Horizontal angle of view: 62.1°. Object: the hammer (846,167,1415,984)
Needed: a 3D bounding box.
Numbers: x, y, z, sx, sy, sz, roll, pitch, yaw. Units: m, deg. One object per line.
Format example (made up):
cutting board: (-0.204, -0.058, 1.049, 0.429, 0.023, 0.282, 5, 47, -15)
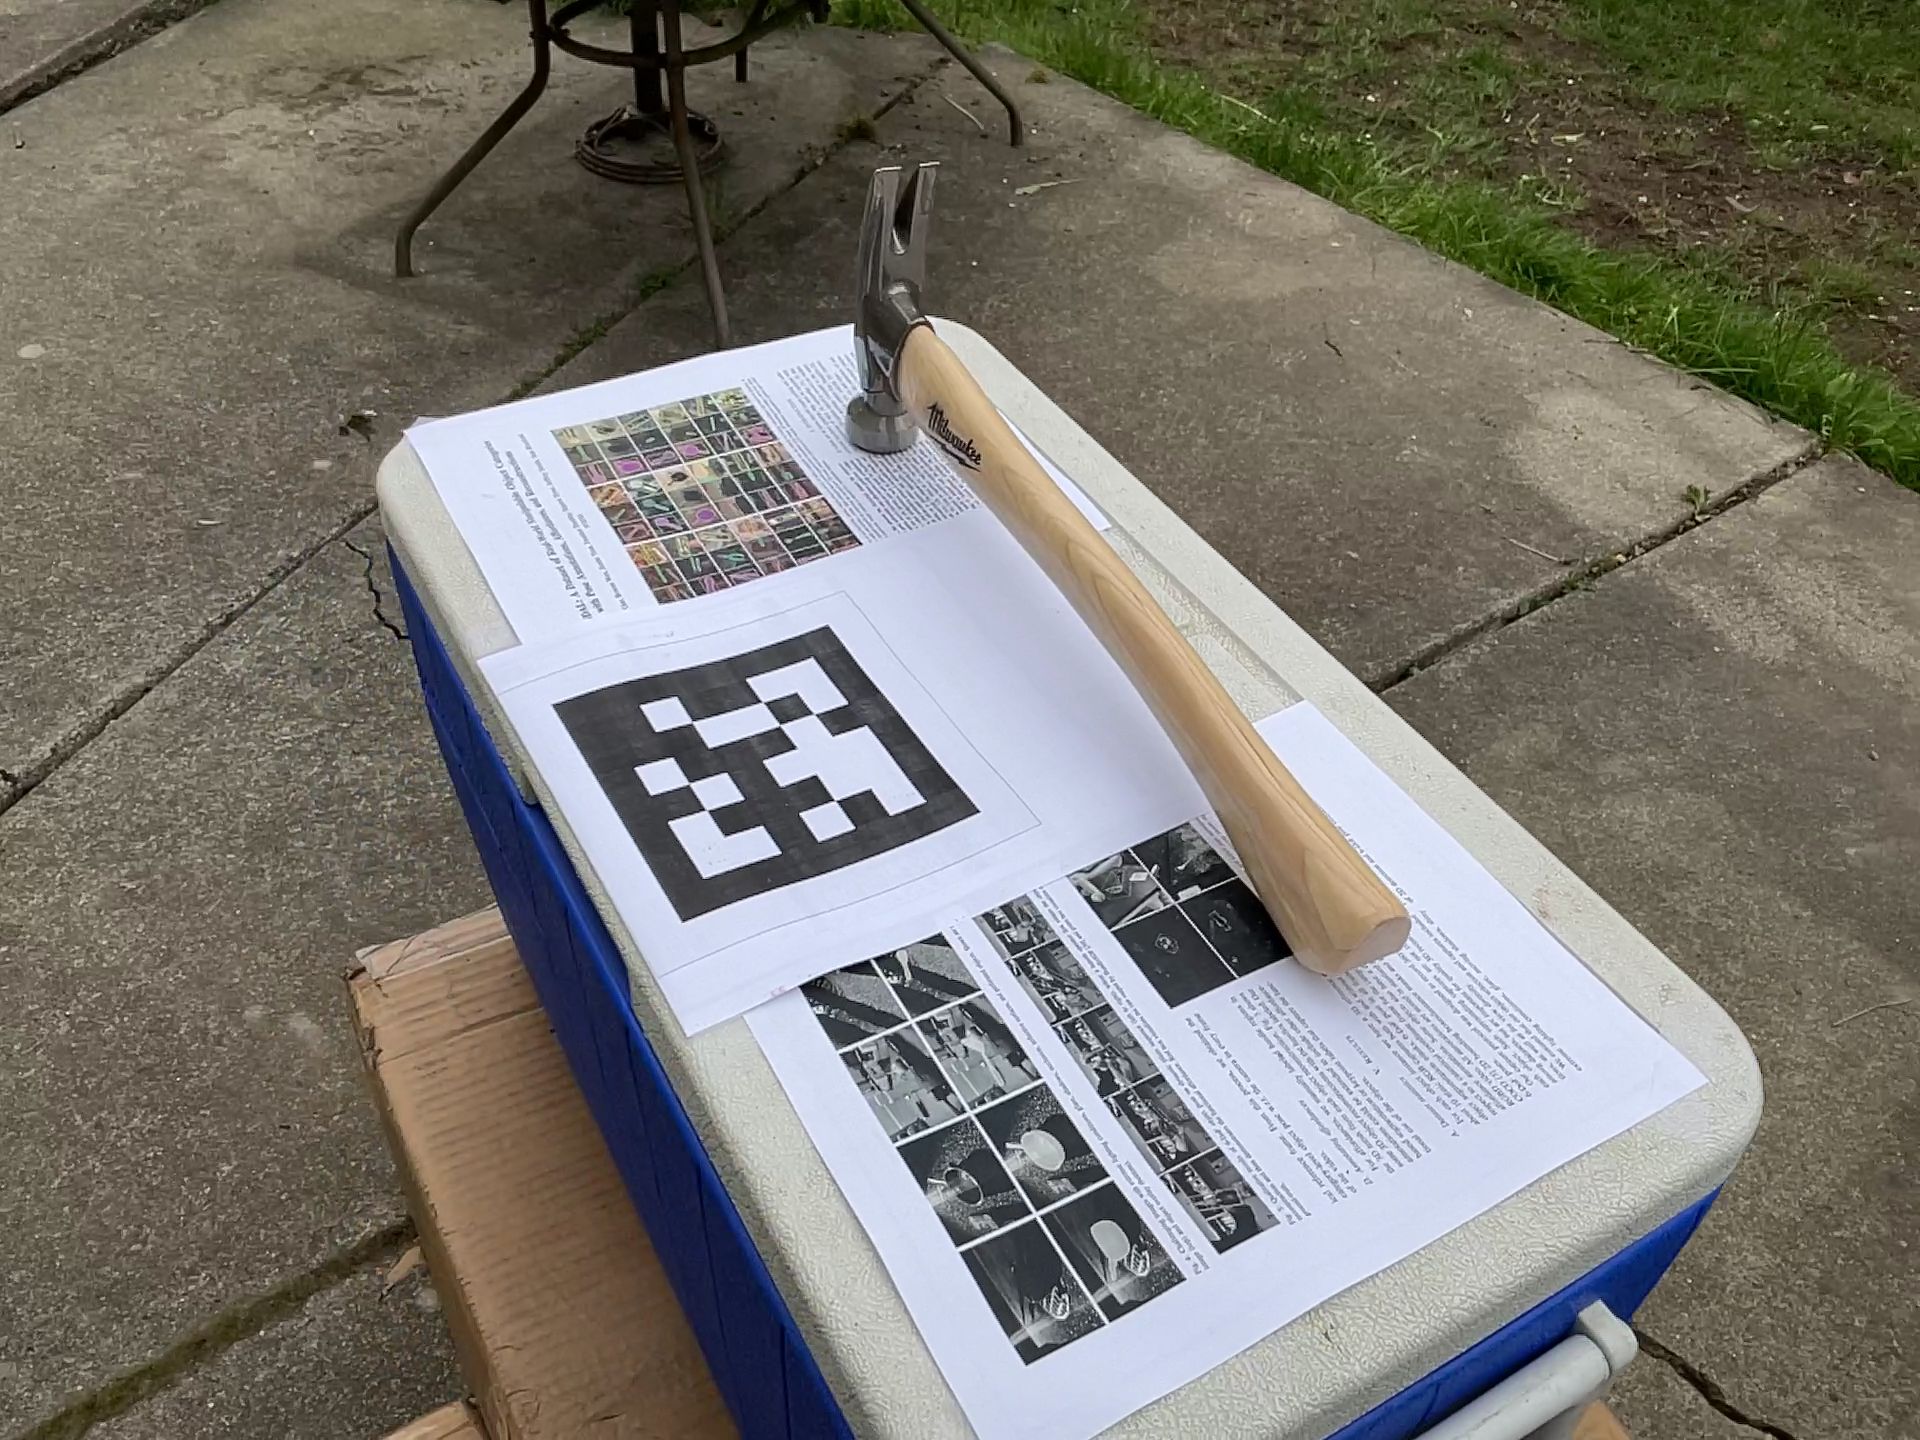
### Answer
hammer: (0.053, -0.067, 0.656, 0.038, 0.146, 0.411, -17, 52, -23)
